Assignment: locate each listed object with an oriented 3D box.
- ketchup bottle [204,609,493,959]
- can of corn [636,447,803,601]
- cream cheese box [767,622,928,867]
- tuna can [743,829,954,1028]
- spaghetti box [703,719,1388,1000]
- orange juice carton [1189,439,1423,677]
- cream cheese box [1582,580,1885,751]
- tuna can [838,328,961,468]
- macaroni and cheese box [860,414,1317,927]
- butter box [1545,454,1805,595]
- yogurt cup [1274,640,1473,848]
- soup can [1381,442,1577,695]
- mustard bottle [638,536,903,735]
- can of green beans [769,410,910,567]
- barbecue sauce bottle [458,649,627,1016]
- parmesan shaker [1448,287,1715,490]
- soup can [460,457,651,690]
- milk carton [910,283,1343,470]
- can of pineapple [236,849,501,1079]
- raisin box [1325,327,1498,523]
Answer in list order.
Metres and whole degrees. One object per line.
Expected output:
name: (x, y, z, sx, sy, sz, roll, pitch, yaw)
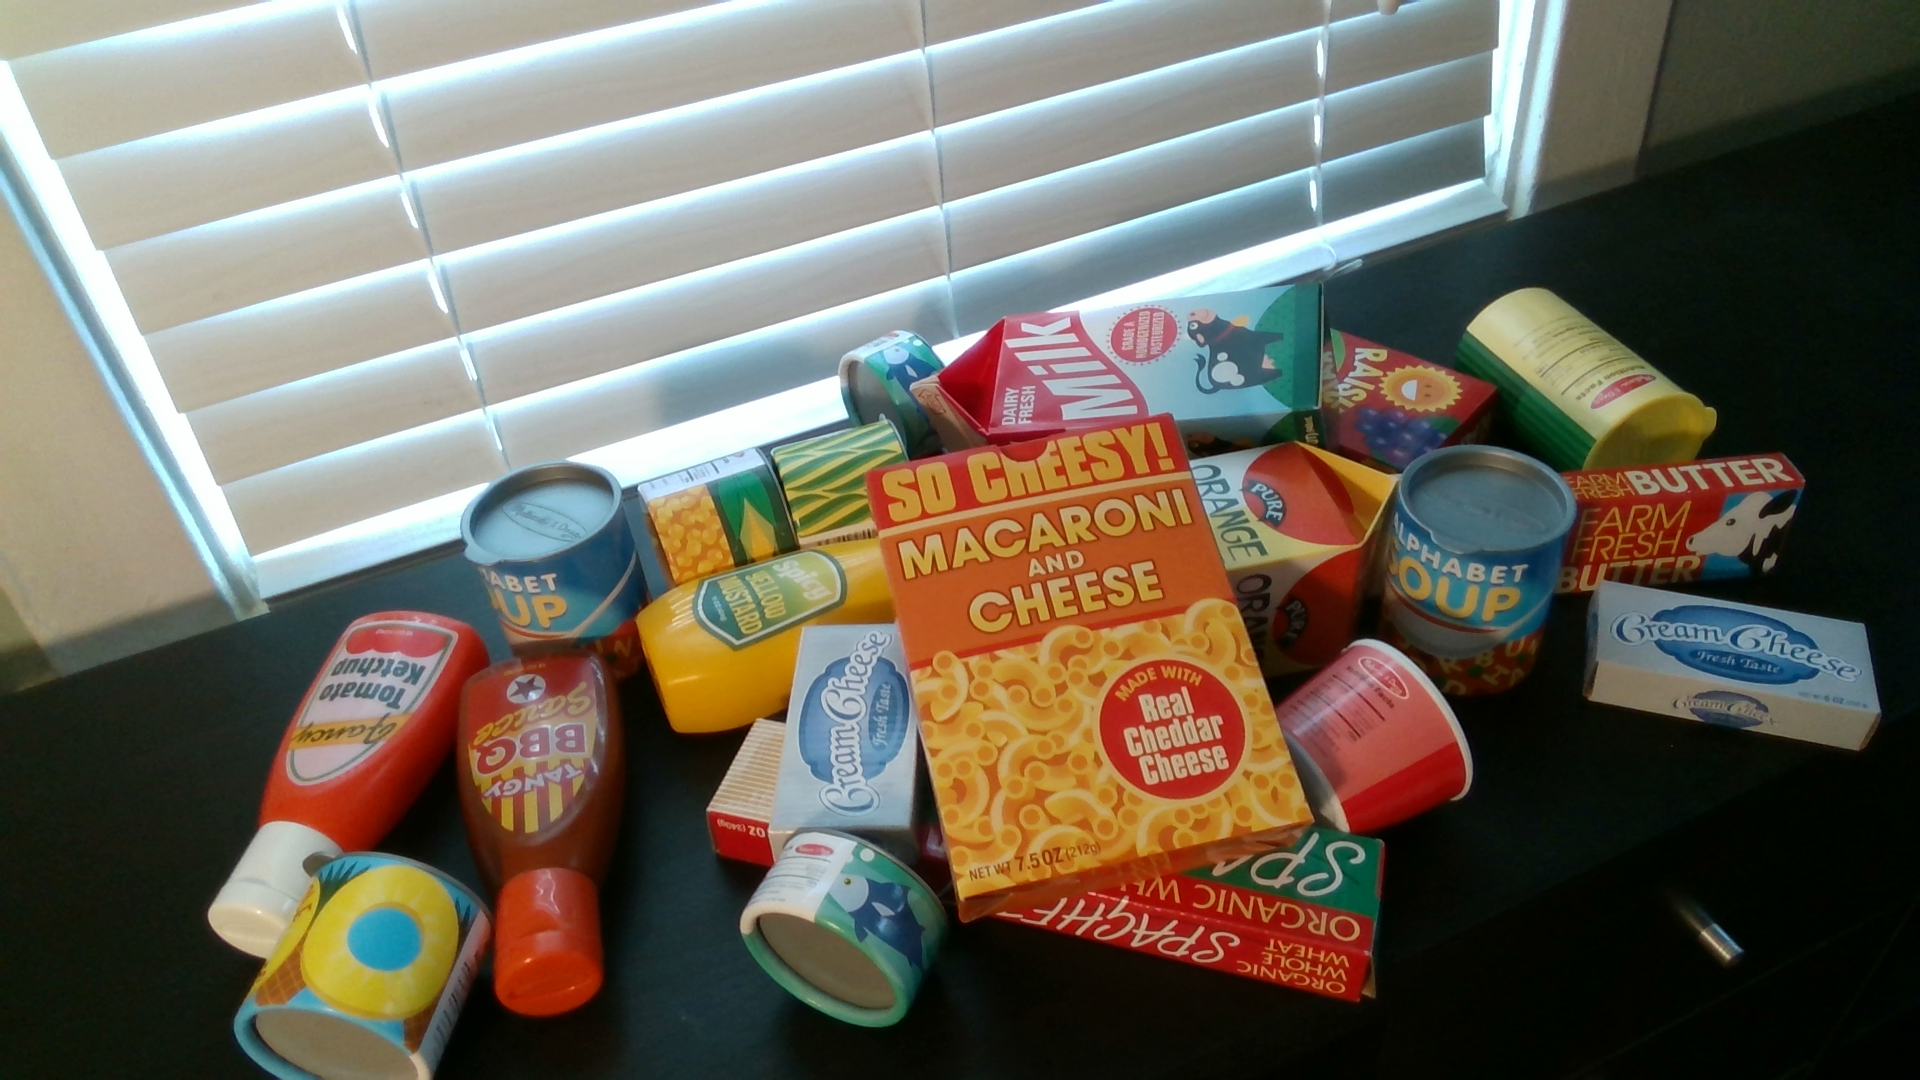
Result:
ketchup bottle: (-0.244, 0.093, 0.554, 0.065, 0.043, 0.149, 2, 42, 10)
can of corn: (-0.108, 0.000, 0.634, 0.058, 0.070, 0.071, -20, 43, -16)
cream cheese box: (-0.039, 0.075, 0.526, 0.053, 0.024, 0.104, -3, 41, 5)
tuna can: (-0.037, 0.134, 0.472, 0.071, 0.070, 0.033, 16, 46, 22)
spaghetti box: (0.029, 0.114, 0.512, 0.250, 0.028, 0.050, 9, 41, 16)
orange juice carton: (0.099, 0.014, 0.584, 0.193, 0.071, 0.073, -10, 43, -9)
cream cheese box: (0.310, 0.049, 0.564, 0.104, 0.024, 0.054, 10, 41, 15)
tuna can: (-0.030, -0.068, 0.702, 0.033, 0.070, 0.071, -28, 46, -24)
macaroni and cheese box: (0.040, 0.040, 0.501, 0.124, 0.040, 0.167, -11, 62, -7)
butter box: (0.305, -0.006, 0.603, 0.103, 0.052, 0.024, -5, 38, -1)
yogurt cup: (0.148, 0.079, 0.518, 0.054, 0.072, 0.072, -28, 45, -12)
soup can: (0.208, 0.014, 0.568, 0.071, 0.083, 0.072, -4, 40, 3)
mustard bottle: (-0.056, 0.031, 0.604, 0.161, 0.048, 0.065, -21, 44, -18)
can of green beans: (-0.053, -0.019, 0.647, 0.058, 0.071, 0.071, -14, 42, -9)
barbecue sauce bottle: (-0.158, 0.107, 0.530, 0.065, 0.043, 0.149, -13, 41, -8)
parmesan shaker: (0.295, -0.070, 0.668, 0.071, 0.071, 0.103, -16, 42, -13)
soup can: (-0.173, 0.018, 0.602, 0.071, 0.083, 0.072, -3, 41, 3)
milk carton: (0.077, -0.060, 0.649, 0.190, 0.072, 0.074, -4, 57, 21)
can of pineapple: (-0.200, 0.147, 0.469, 0.071, 0.070, 0.058, 2, 41, 9)
raisin box: (0.189, -0.062, 0.692, 0.123, 0.039, 0.086, 29, 51, 33)
